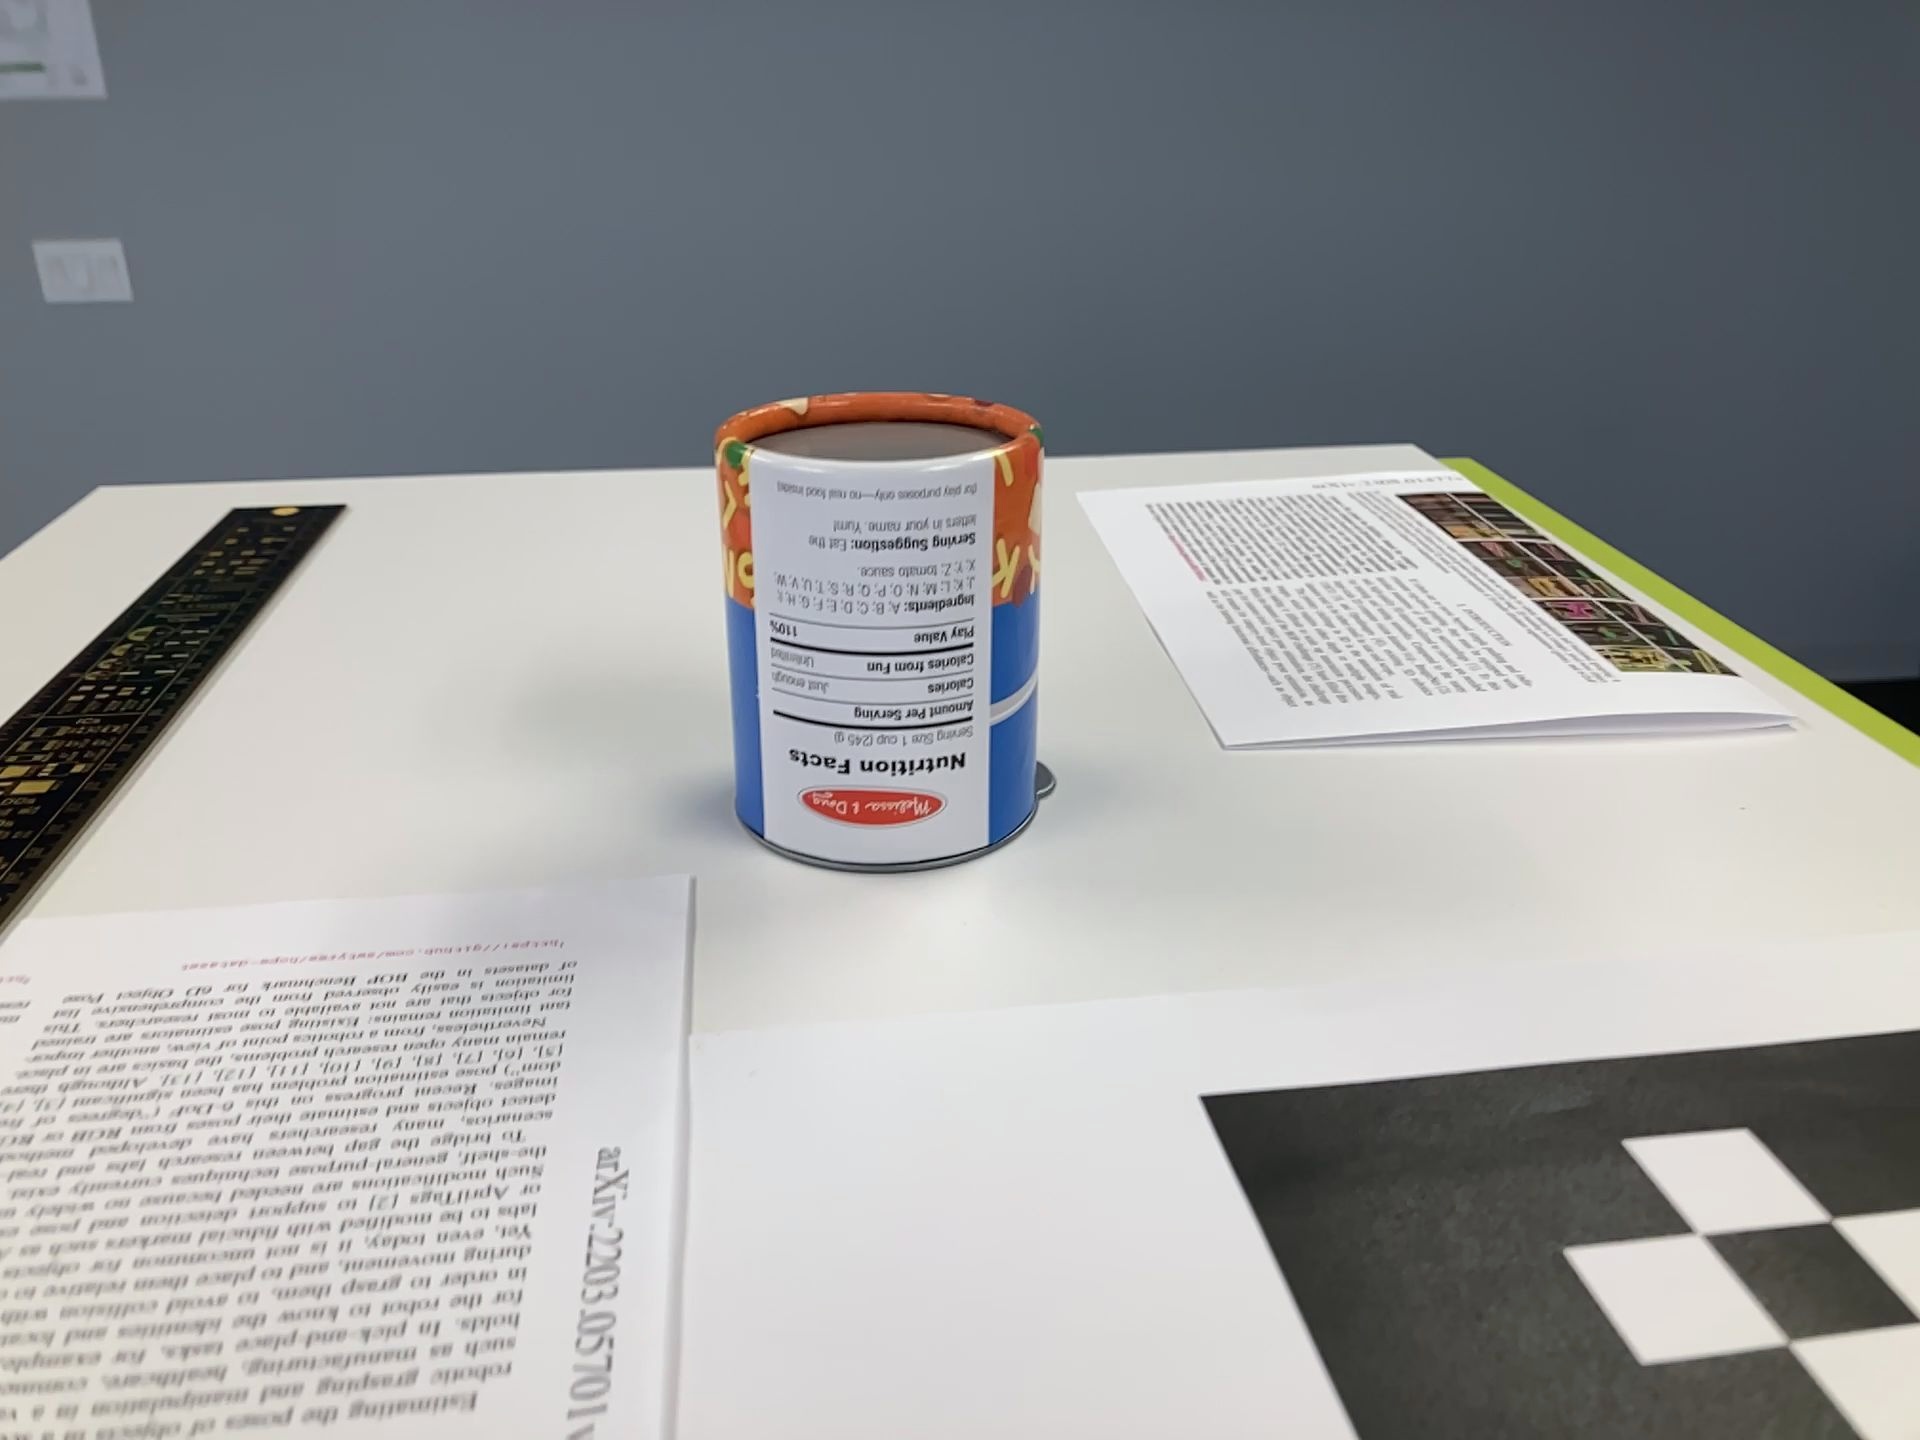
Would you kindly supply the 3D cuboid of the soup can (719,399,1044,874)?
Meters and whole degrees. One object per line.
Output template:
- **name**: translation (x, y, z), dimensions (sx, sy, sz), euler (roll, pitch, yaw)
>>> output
- **soup can**: translation (-0.016, -0.021, 0.337), dimensions (0.071, 0.084, 0.071), euler (0, 23, 0)
